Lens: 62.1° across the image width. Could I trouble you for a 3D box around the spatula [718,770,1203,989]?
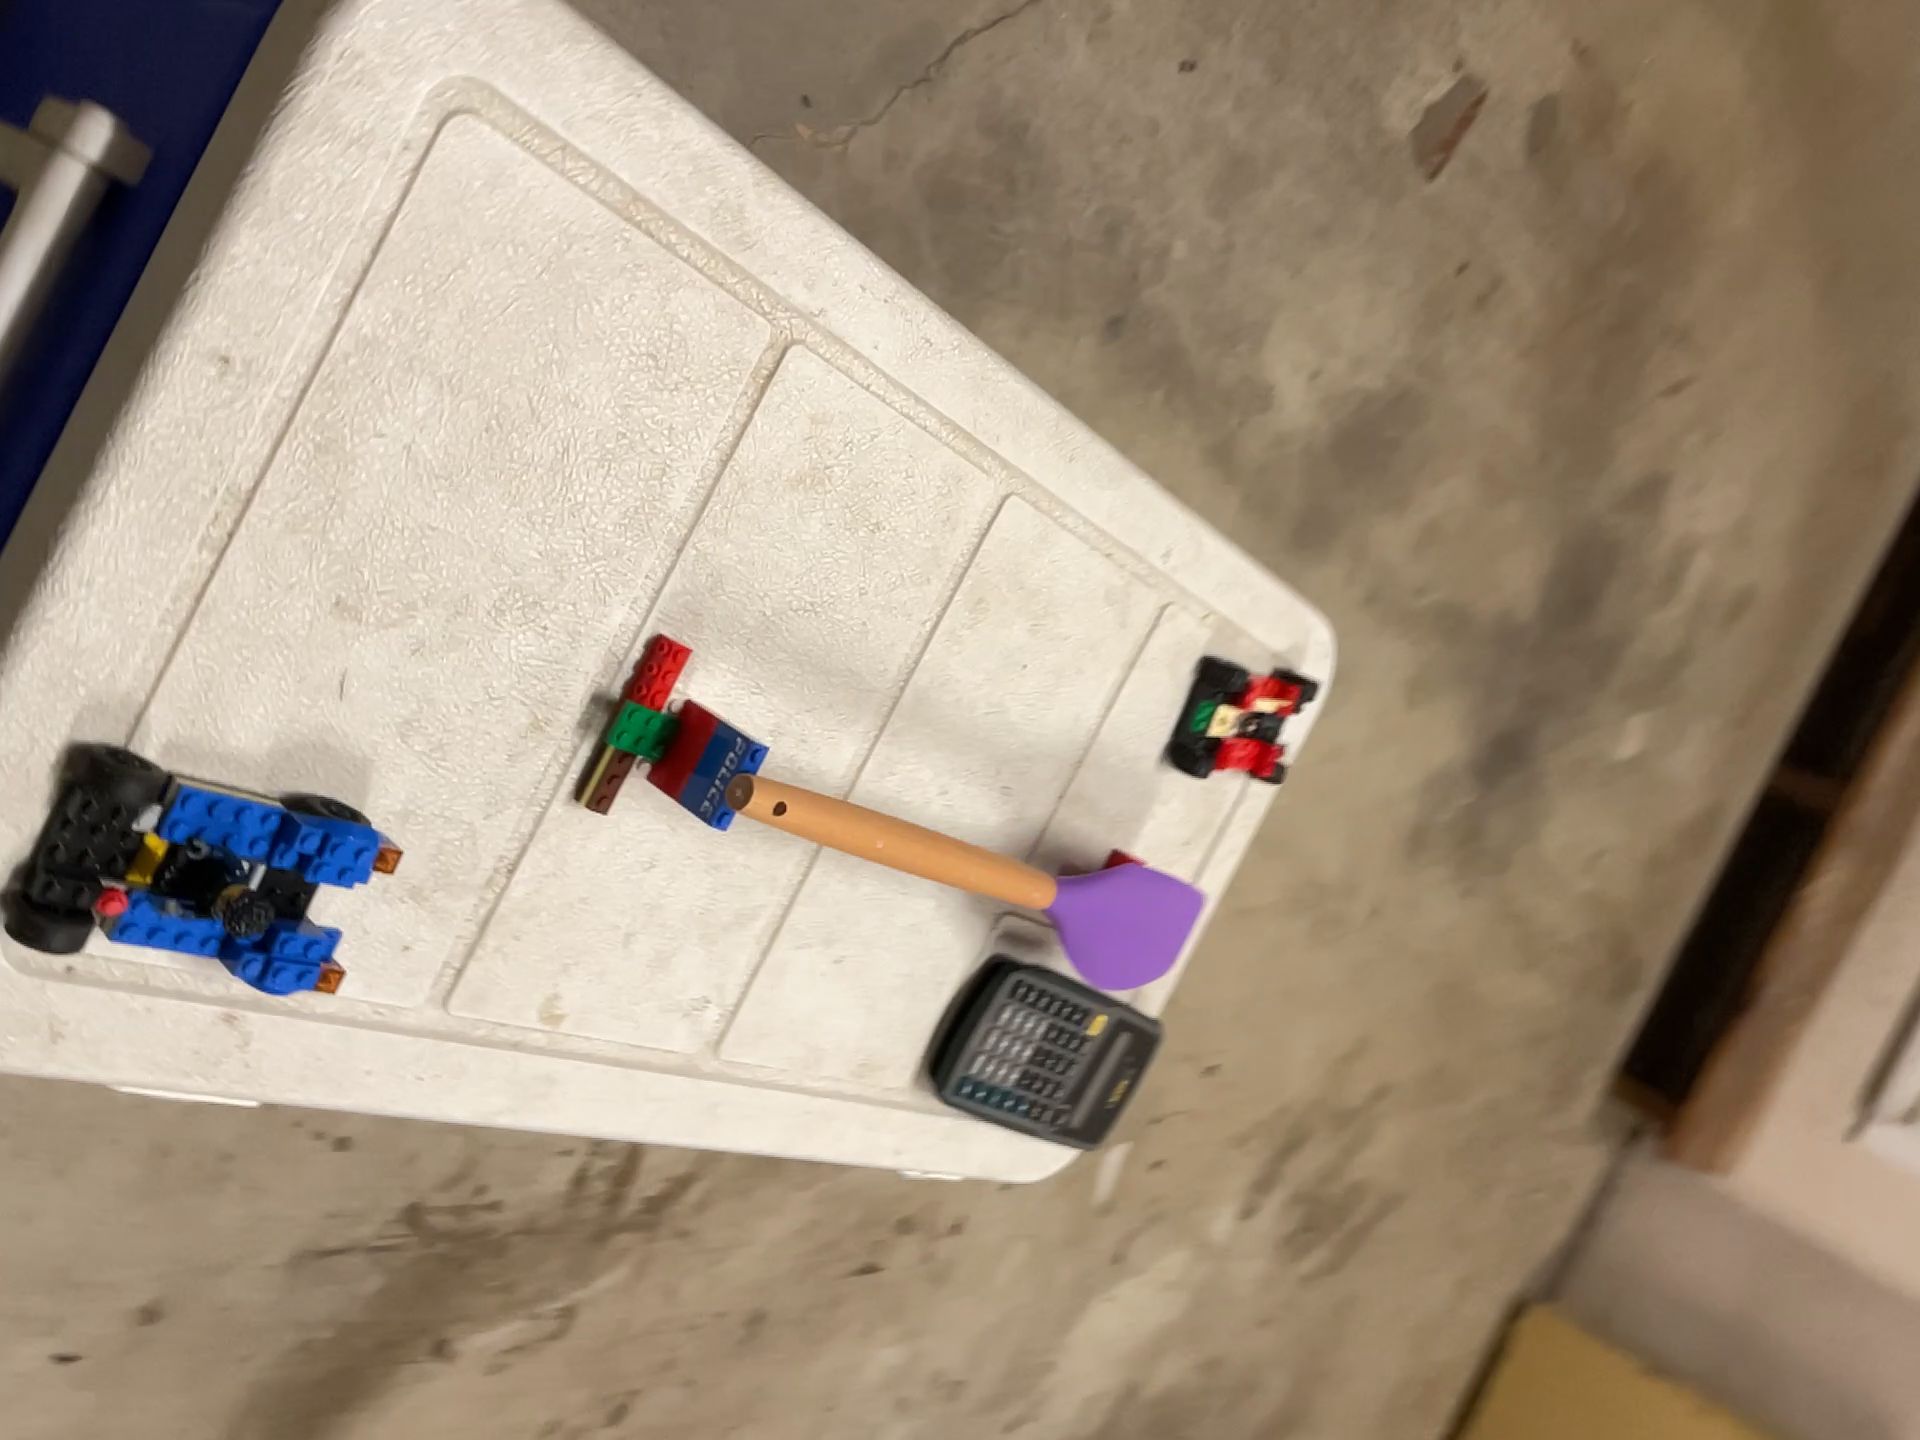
[{"bbox_3d":[0.016,0.065,0.635,0.316,0.018,0.060,25,92,-51],"label":"spatula"}]
